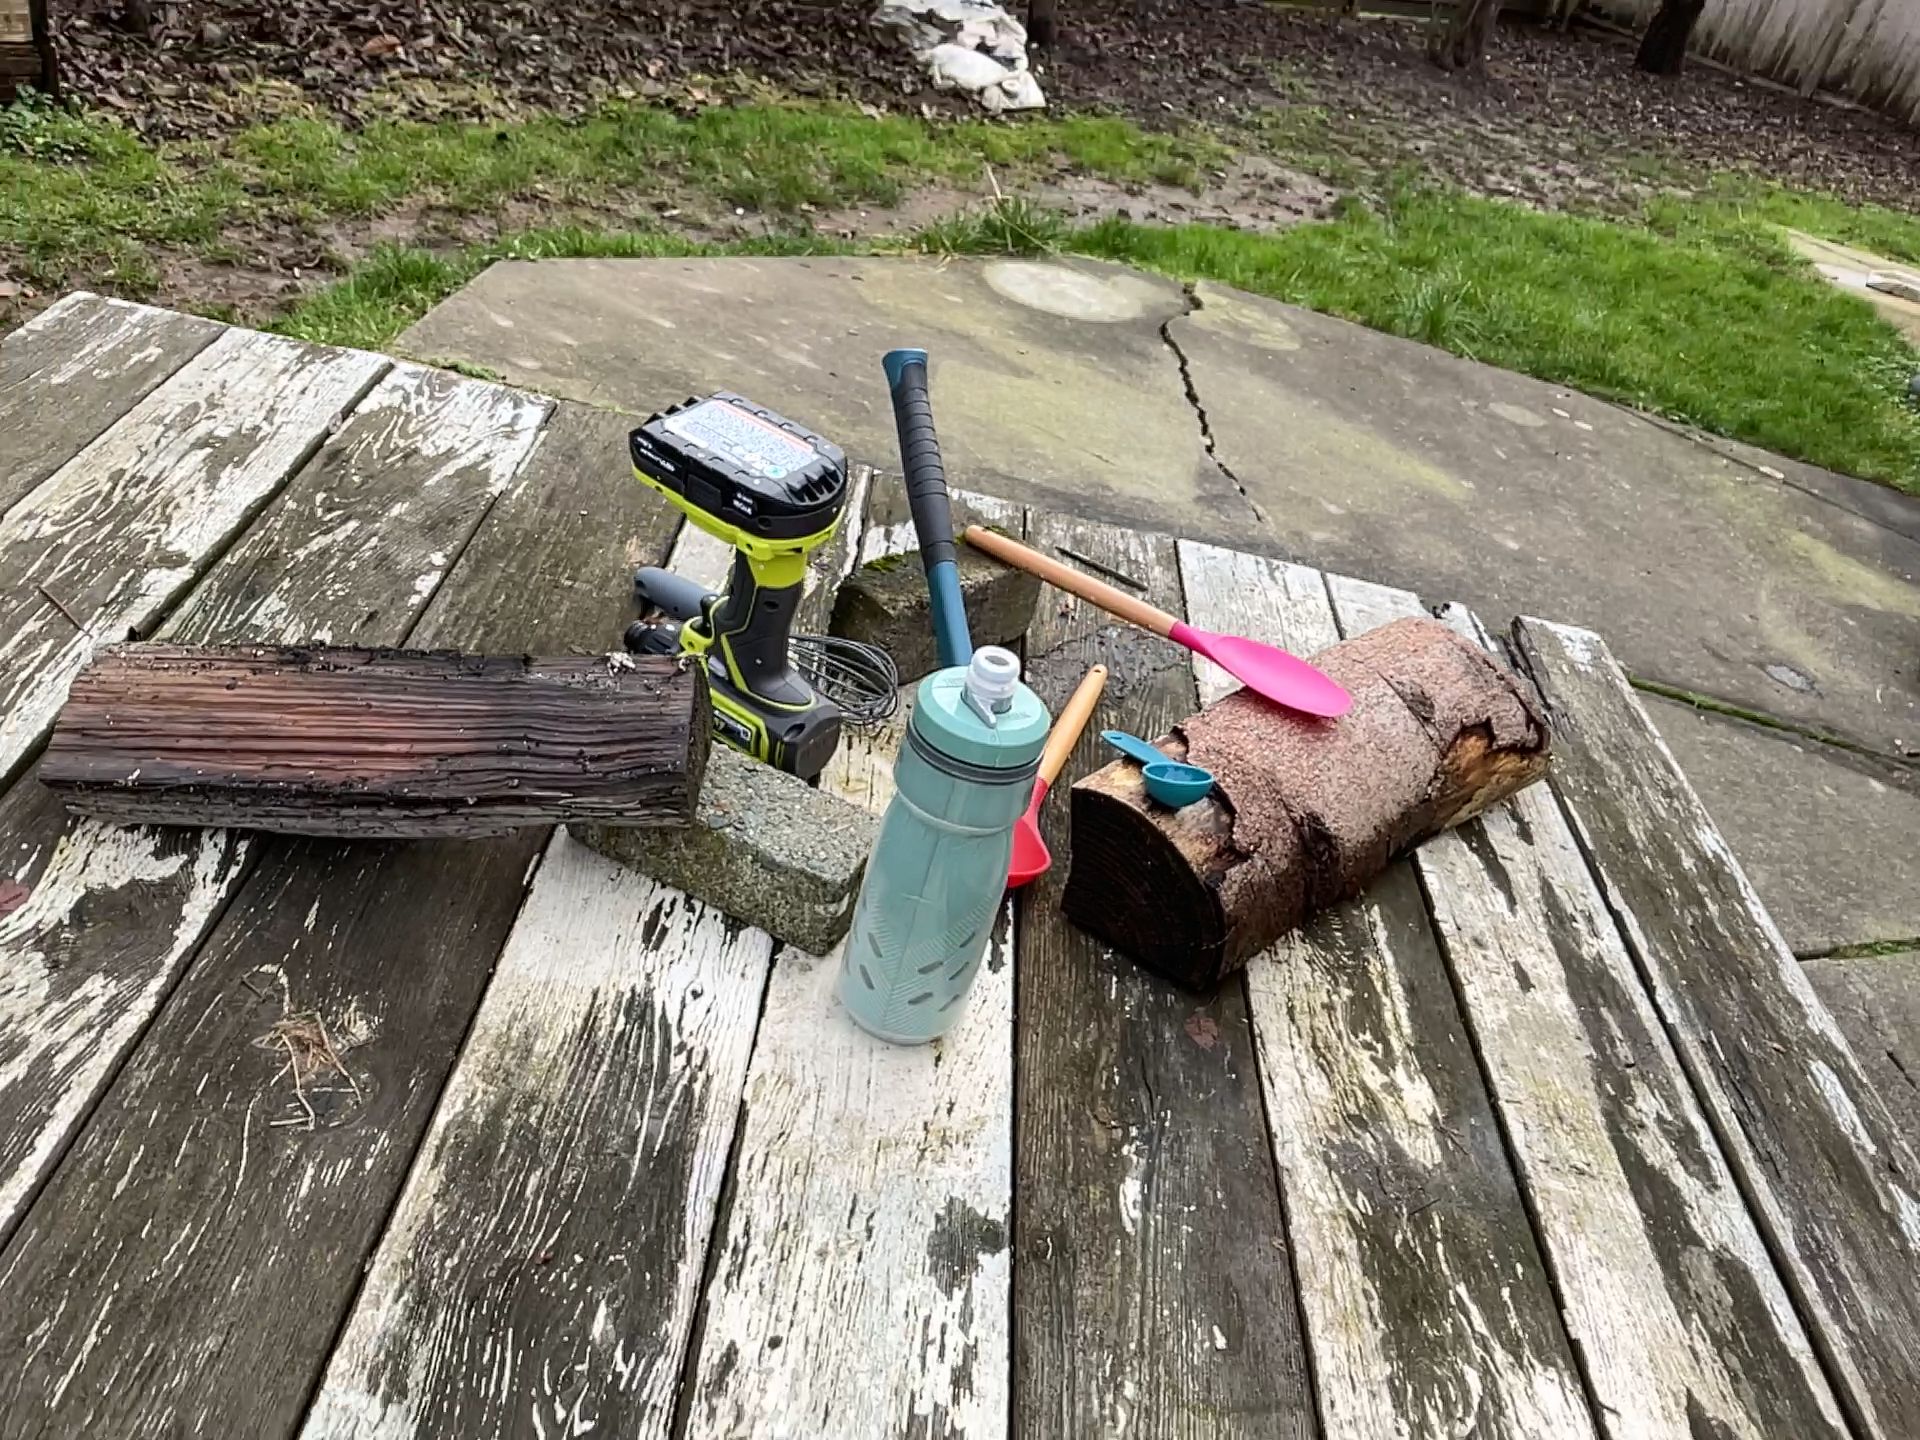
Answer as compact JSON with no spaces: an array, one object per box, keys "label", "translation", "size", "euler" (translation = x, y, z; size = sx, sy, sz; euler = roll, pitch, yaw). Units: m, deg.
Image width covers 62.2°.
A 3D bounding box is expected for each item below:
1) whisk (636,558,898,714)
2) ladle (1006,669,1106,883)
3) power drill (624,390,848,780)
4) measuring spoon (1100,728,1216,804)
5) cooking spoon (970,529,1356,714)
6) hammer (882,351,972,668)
[{"label":"whisk","translation":[-0.142,-0.066,1.142],"size":[0.239,0.055,0.055],"euler":[27,26,24]},{"label":"ladle","translation":[0.059,0.032,1.105],"size":[0.069,0.031,0.315],"euler":[19,30,10]},{"label":"power drill","translation":[-0.149,-0.085,1.015],"size":[0.171,0.223,0.080],"euler":[30,43,24]},{"label":"measuring spoon","translation":[0.116,0.029,0.990],"size":[0.042,0.021,0.129],"euler":[1,13,-20]},{"label":"cooking spoon","translation":[0.136,-0.074,1.148],"size":[0.319,0.017,0.068],"euler":[28,35,27]},{"label":"hammer","translation":[-0.015,-0.118,1.117],"size":[0.033,0.128,0.331],"euler":[1,67,-26]}]
